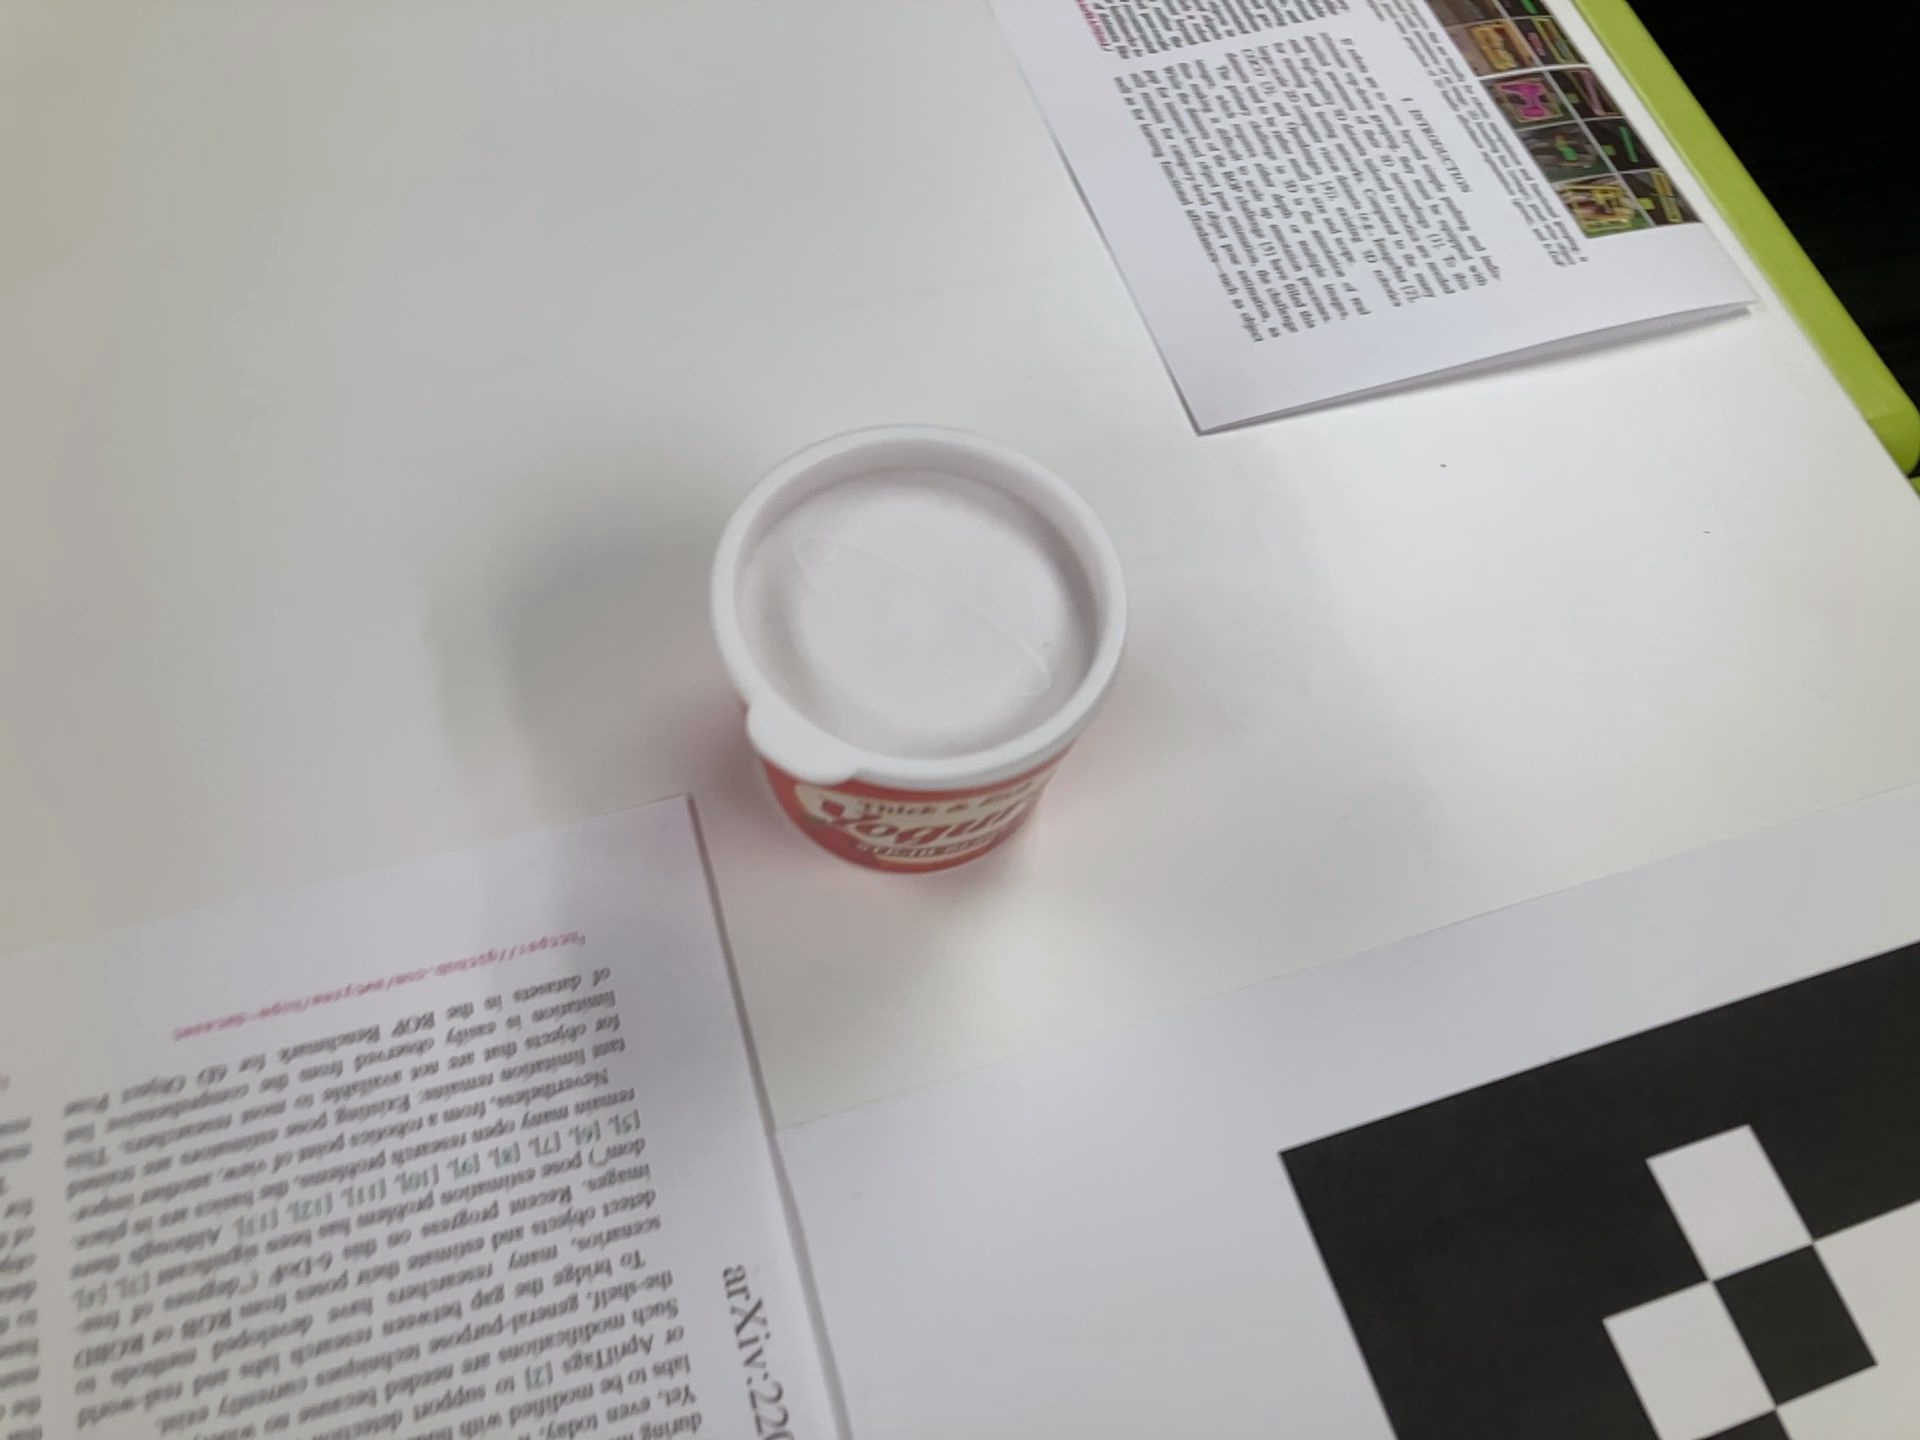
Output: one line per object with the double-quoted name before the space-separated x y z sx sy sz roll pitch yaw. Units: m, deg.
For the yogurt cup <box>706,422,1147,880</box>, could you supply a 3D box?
"yogurt cup" -0.008 -0.008 0.270 0.072 0.054 0.072 3 61 -5
